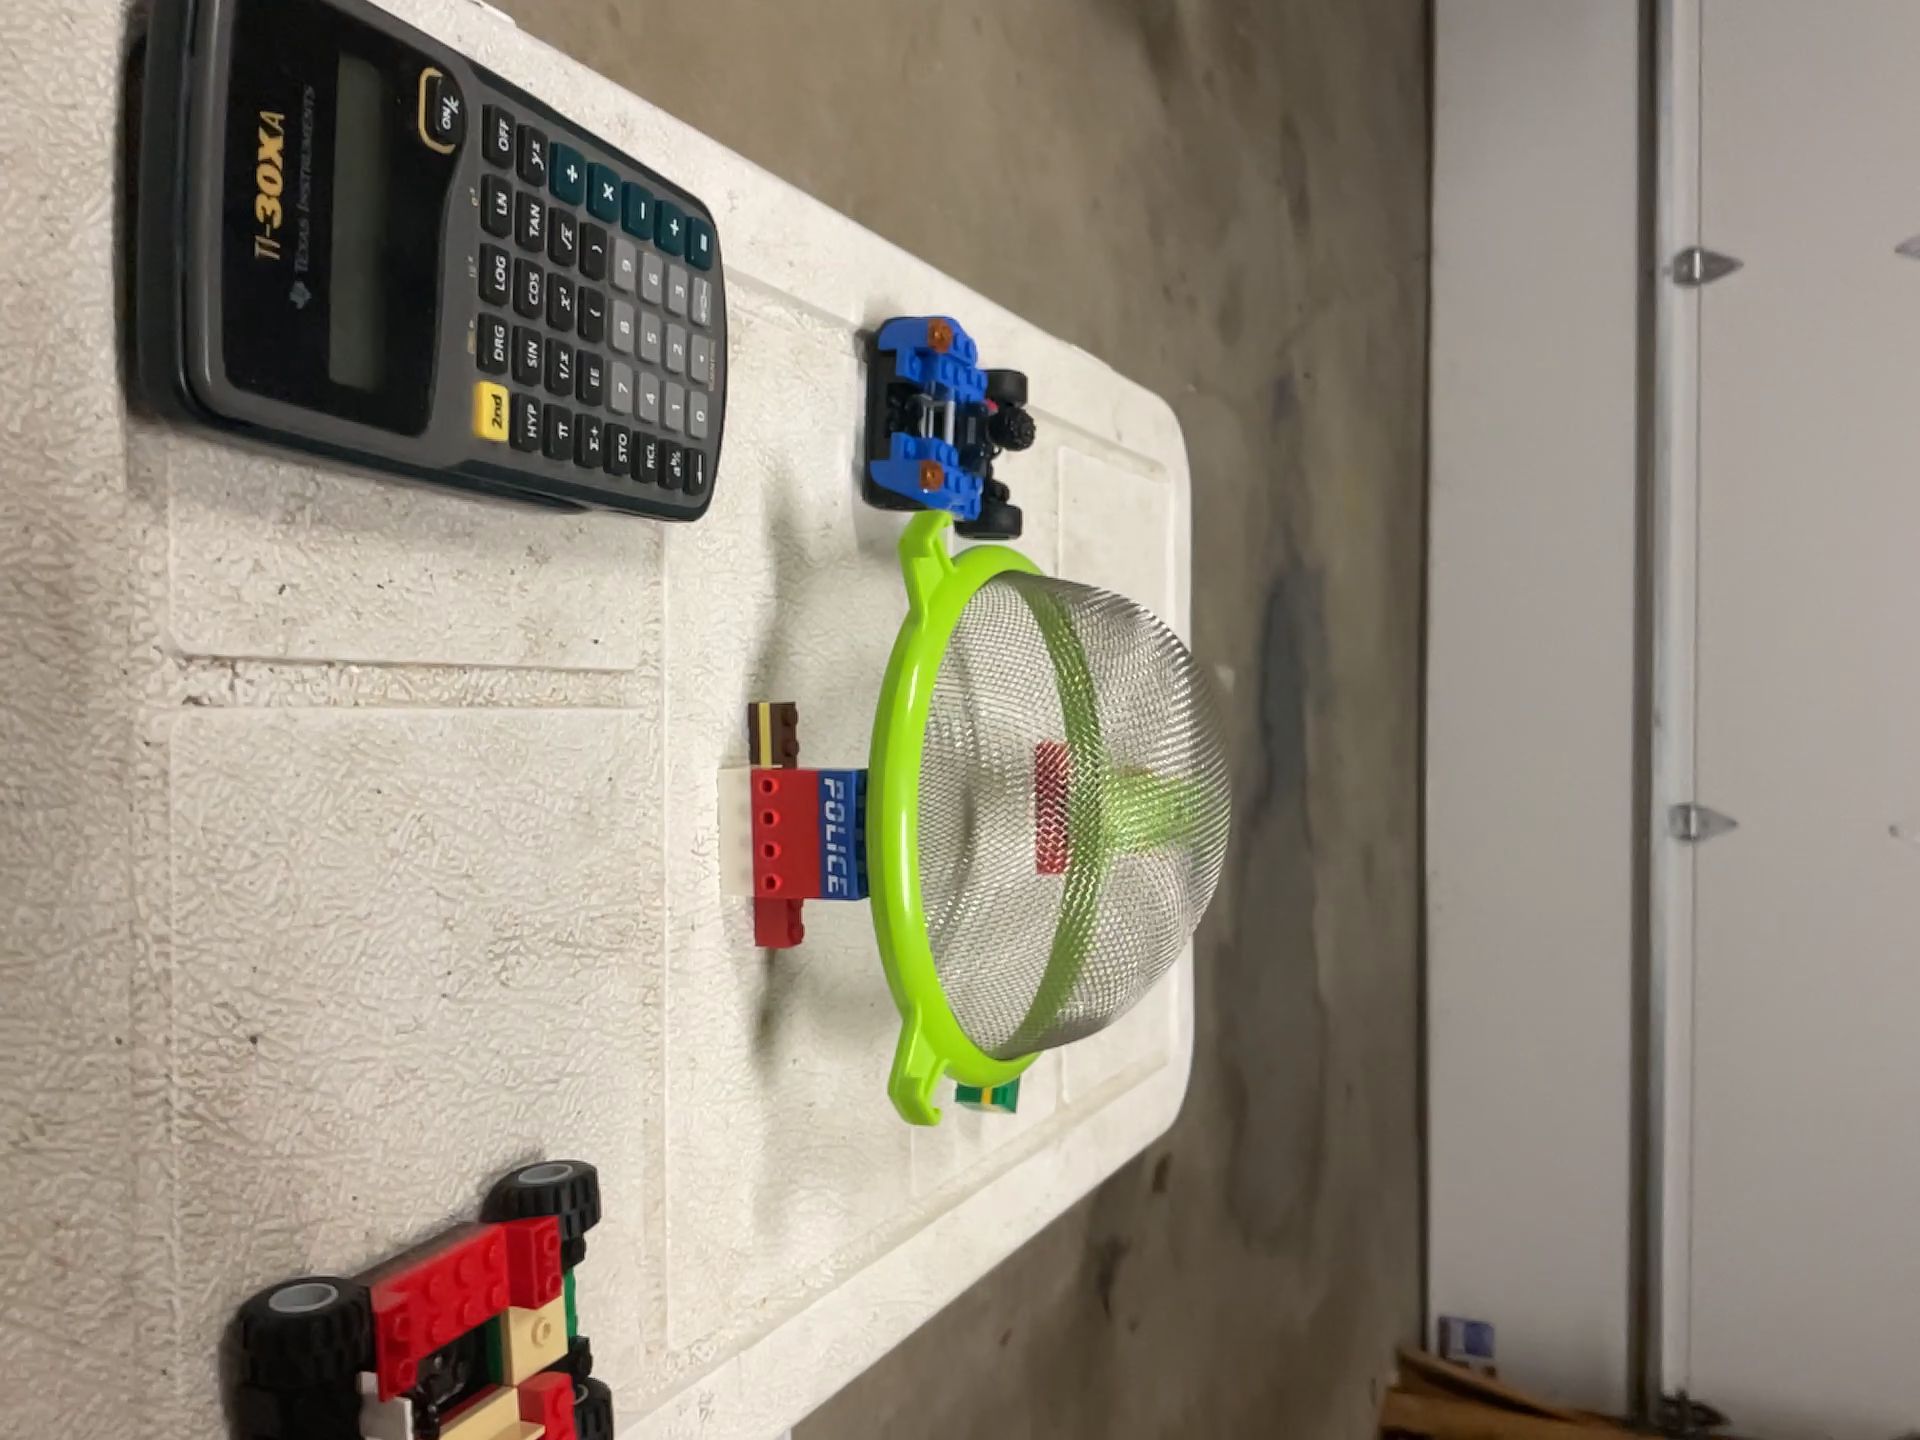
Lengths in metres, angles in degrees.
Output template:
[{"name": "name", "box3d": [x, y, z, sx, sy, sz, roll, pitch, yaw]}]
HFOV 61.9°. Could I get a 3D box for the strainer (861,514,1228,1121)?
[{"name": "strainer", "box3d": [0.059, 0.028, 0.489, 0.256, 0.069, 0.151, 6, 83, -64]}]
